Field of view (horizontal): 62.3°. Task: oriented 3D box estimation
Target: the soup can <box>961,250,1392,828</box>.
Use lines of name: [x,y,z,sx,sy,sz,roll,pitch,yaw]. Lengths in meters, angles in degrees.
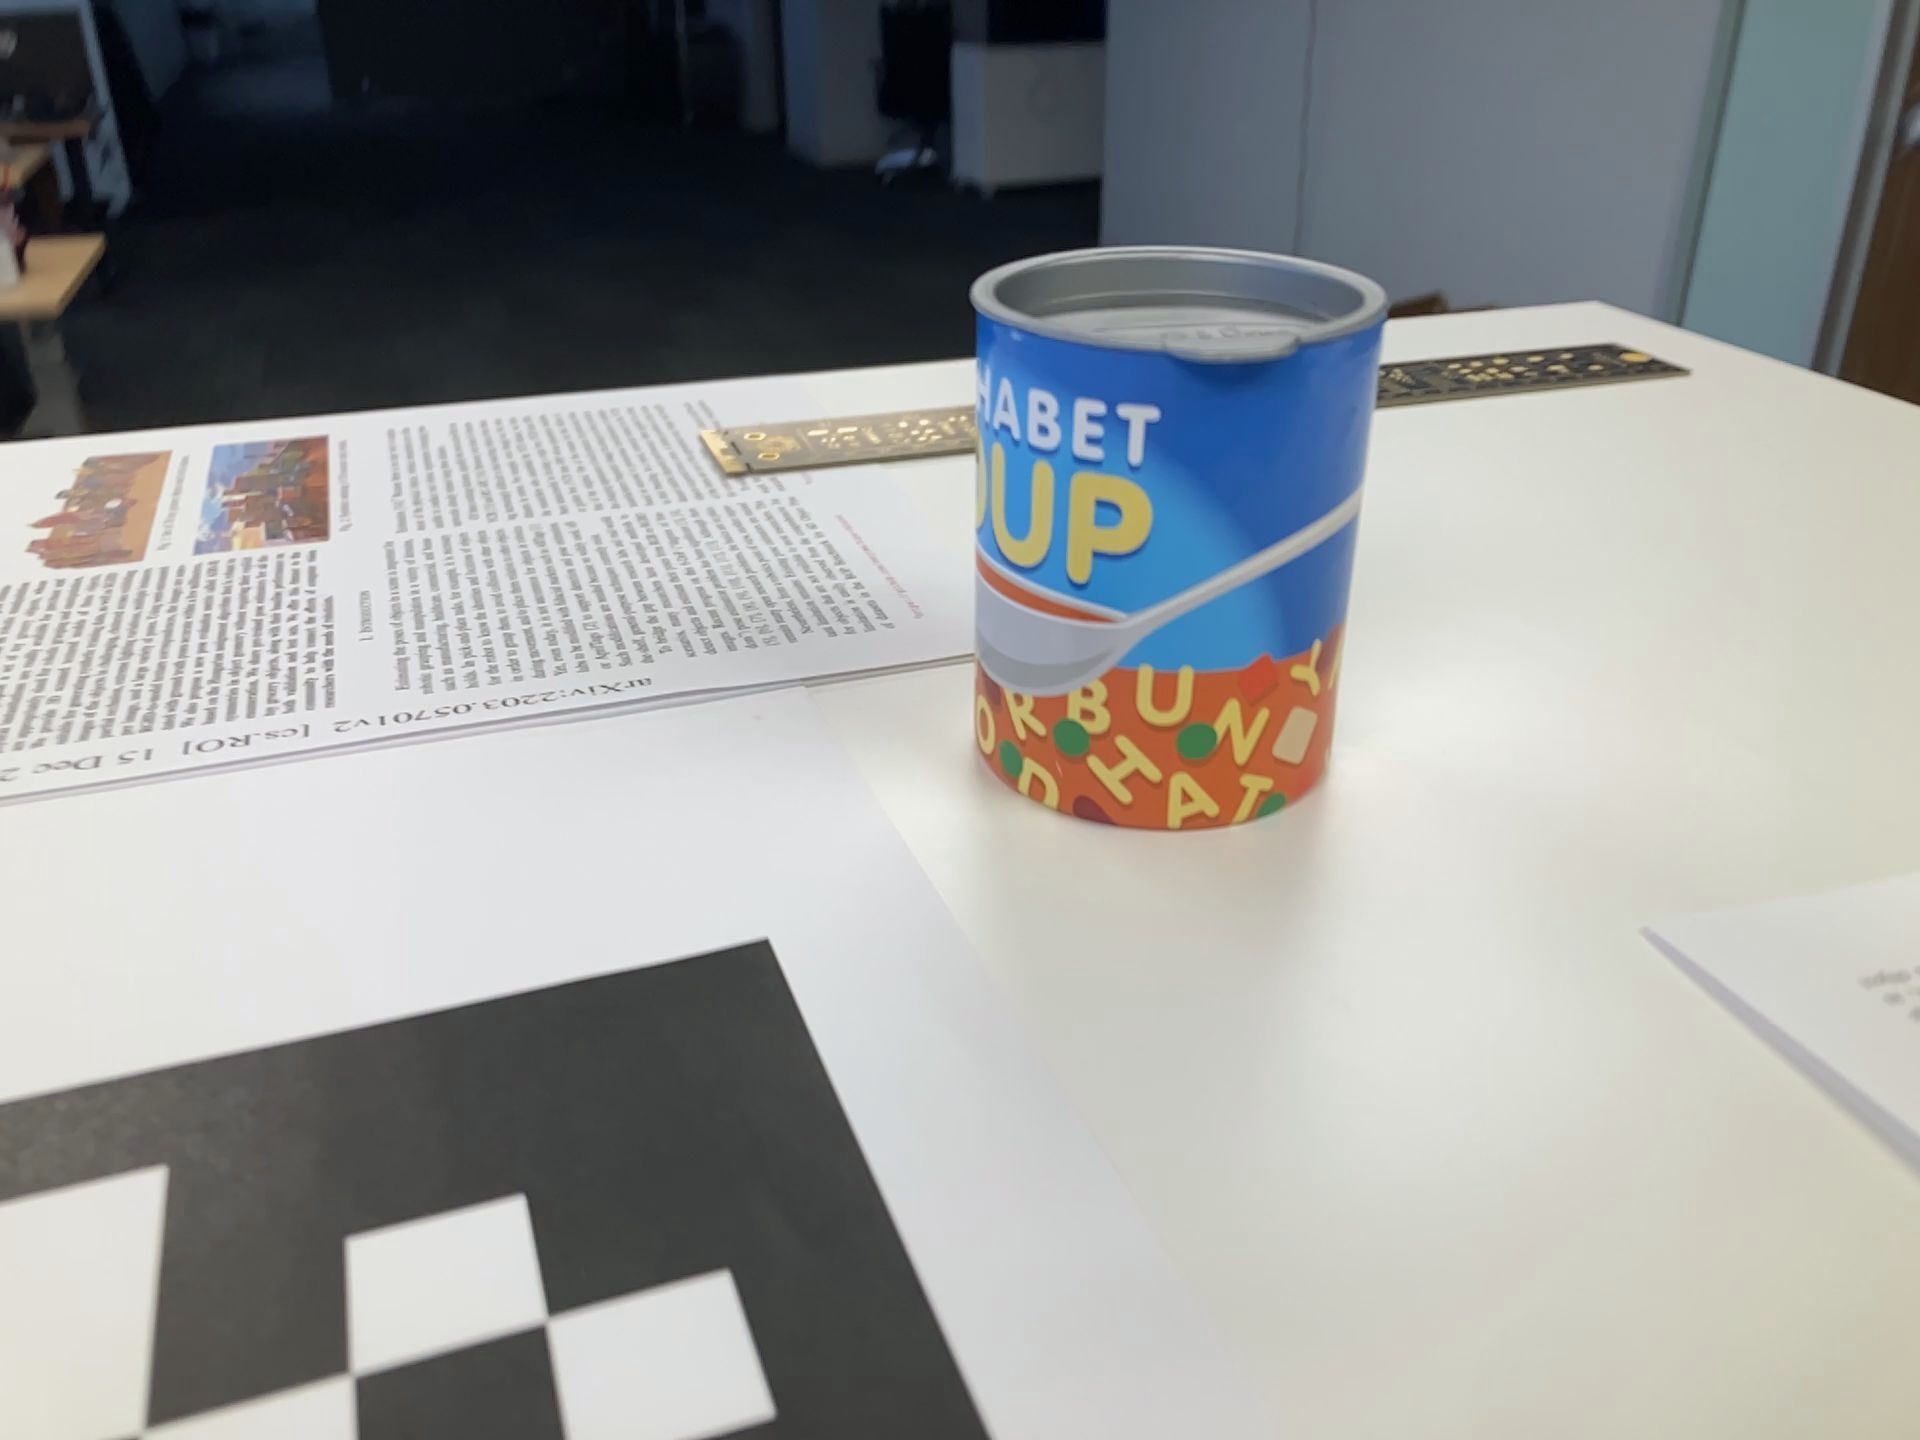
soup can: [0.033,-0.032,0.274,0.071,0.084,0.071,0,27,0]
